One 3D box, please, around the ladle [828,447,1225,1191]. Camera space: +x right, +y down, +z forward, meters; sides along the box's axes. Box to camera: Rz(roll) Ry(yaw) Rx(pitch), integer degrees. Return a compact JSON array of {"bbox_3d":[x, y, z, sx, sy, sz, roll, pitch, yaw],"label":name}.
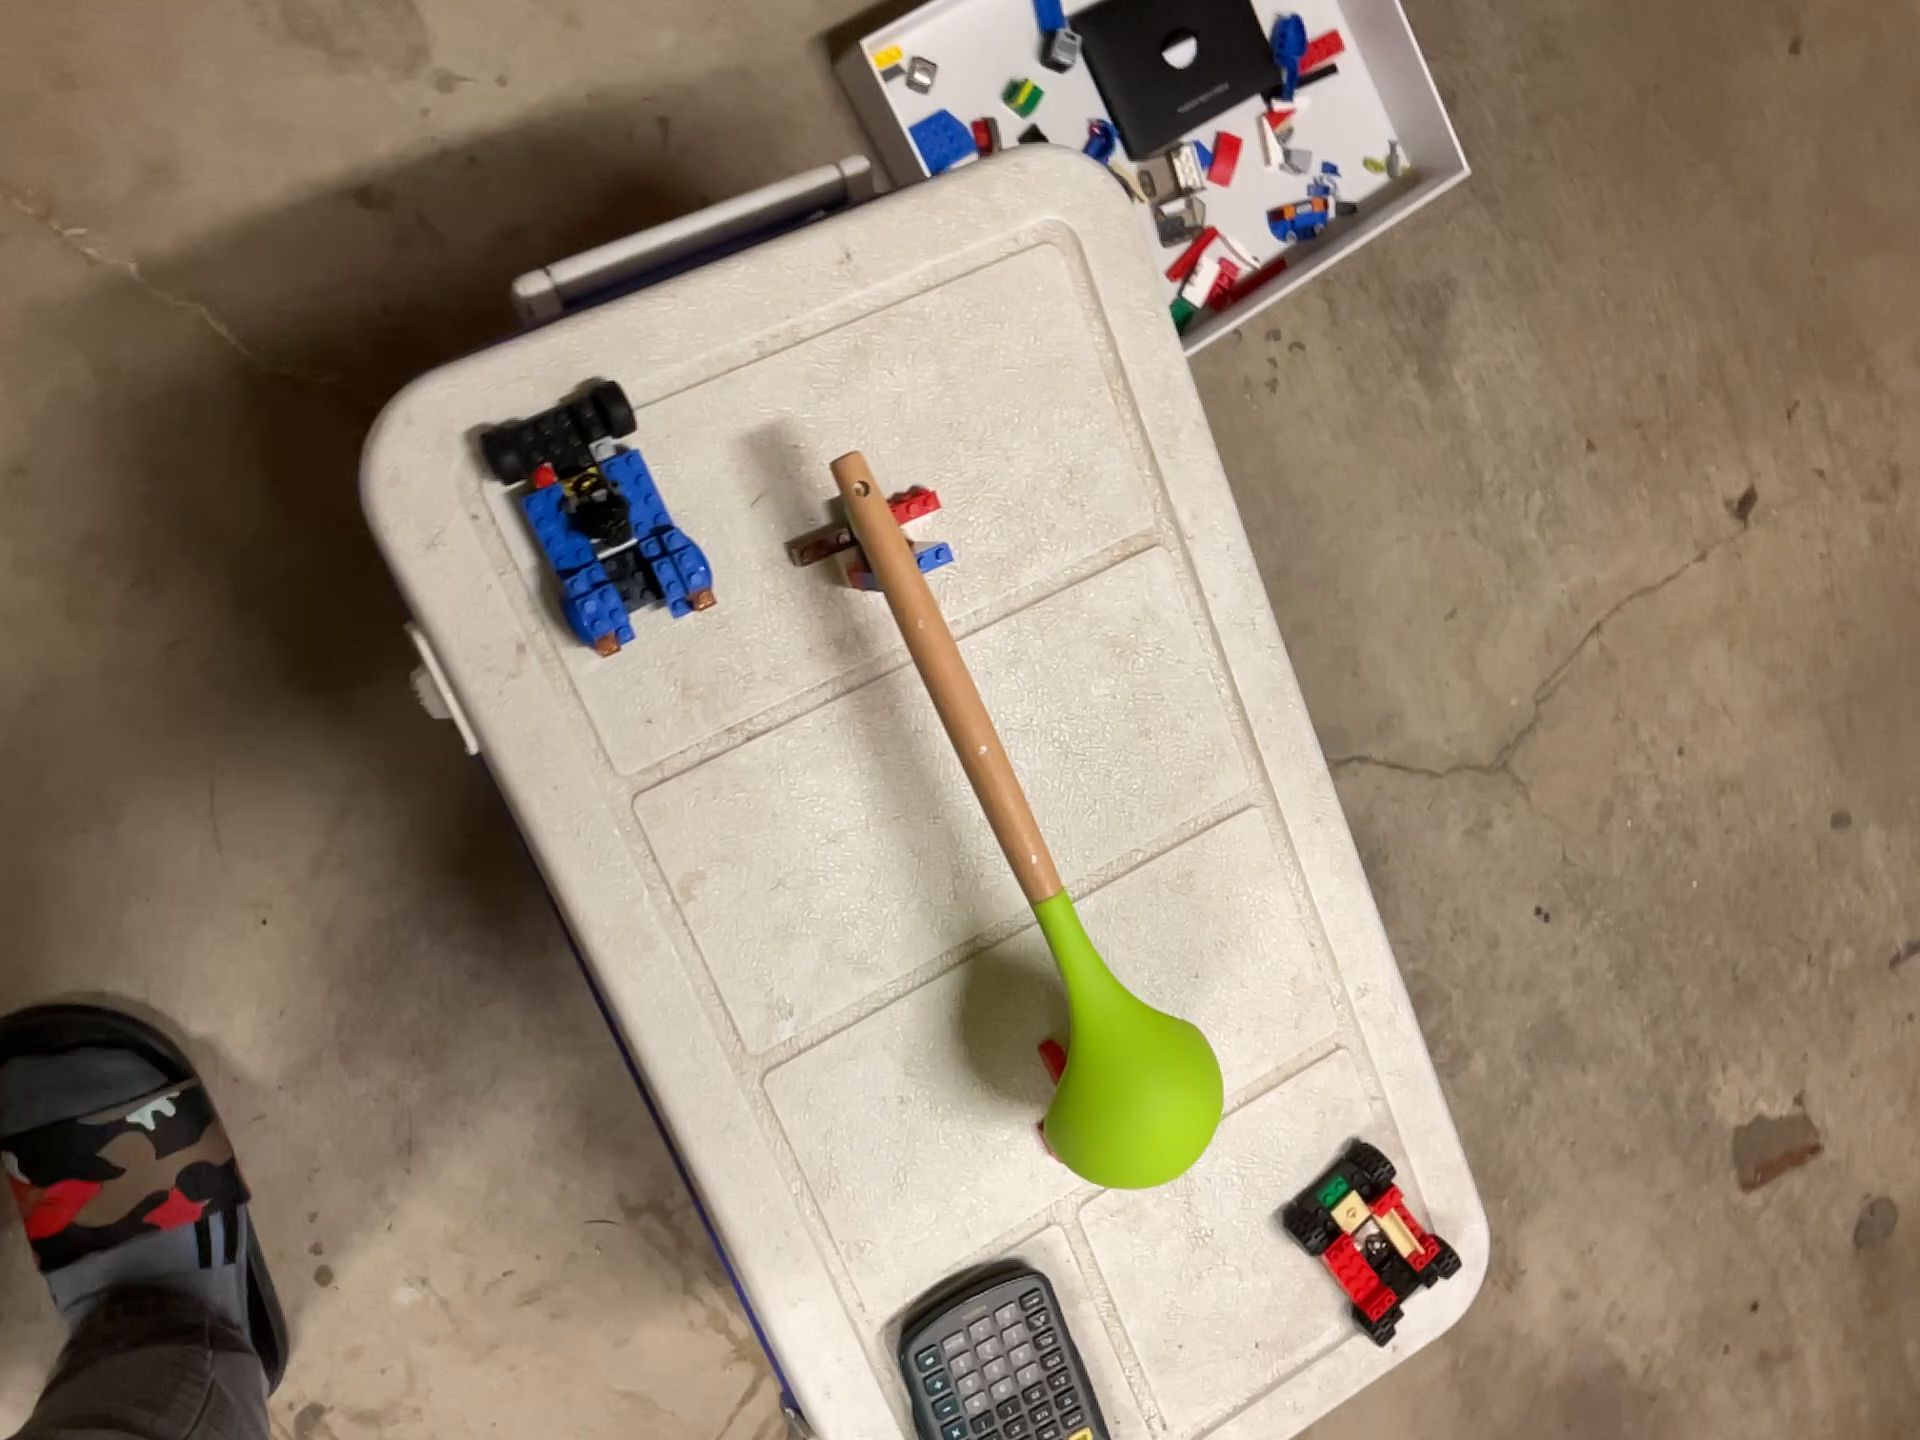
[{"bbox_3d":[0.020,0.044,0.627,0.078,0.062,0.320,-26,99,-10],"label":"ladle"}]
